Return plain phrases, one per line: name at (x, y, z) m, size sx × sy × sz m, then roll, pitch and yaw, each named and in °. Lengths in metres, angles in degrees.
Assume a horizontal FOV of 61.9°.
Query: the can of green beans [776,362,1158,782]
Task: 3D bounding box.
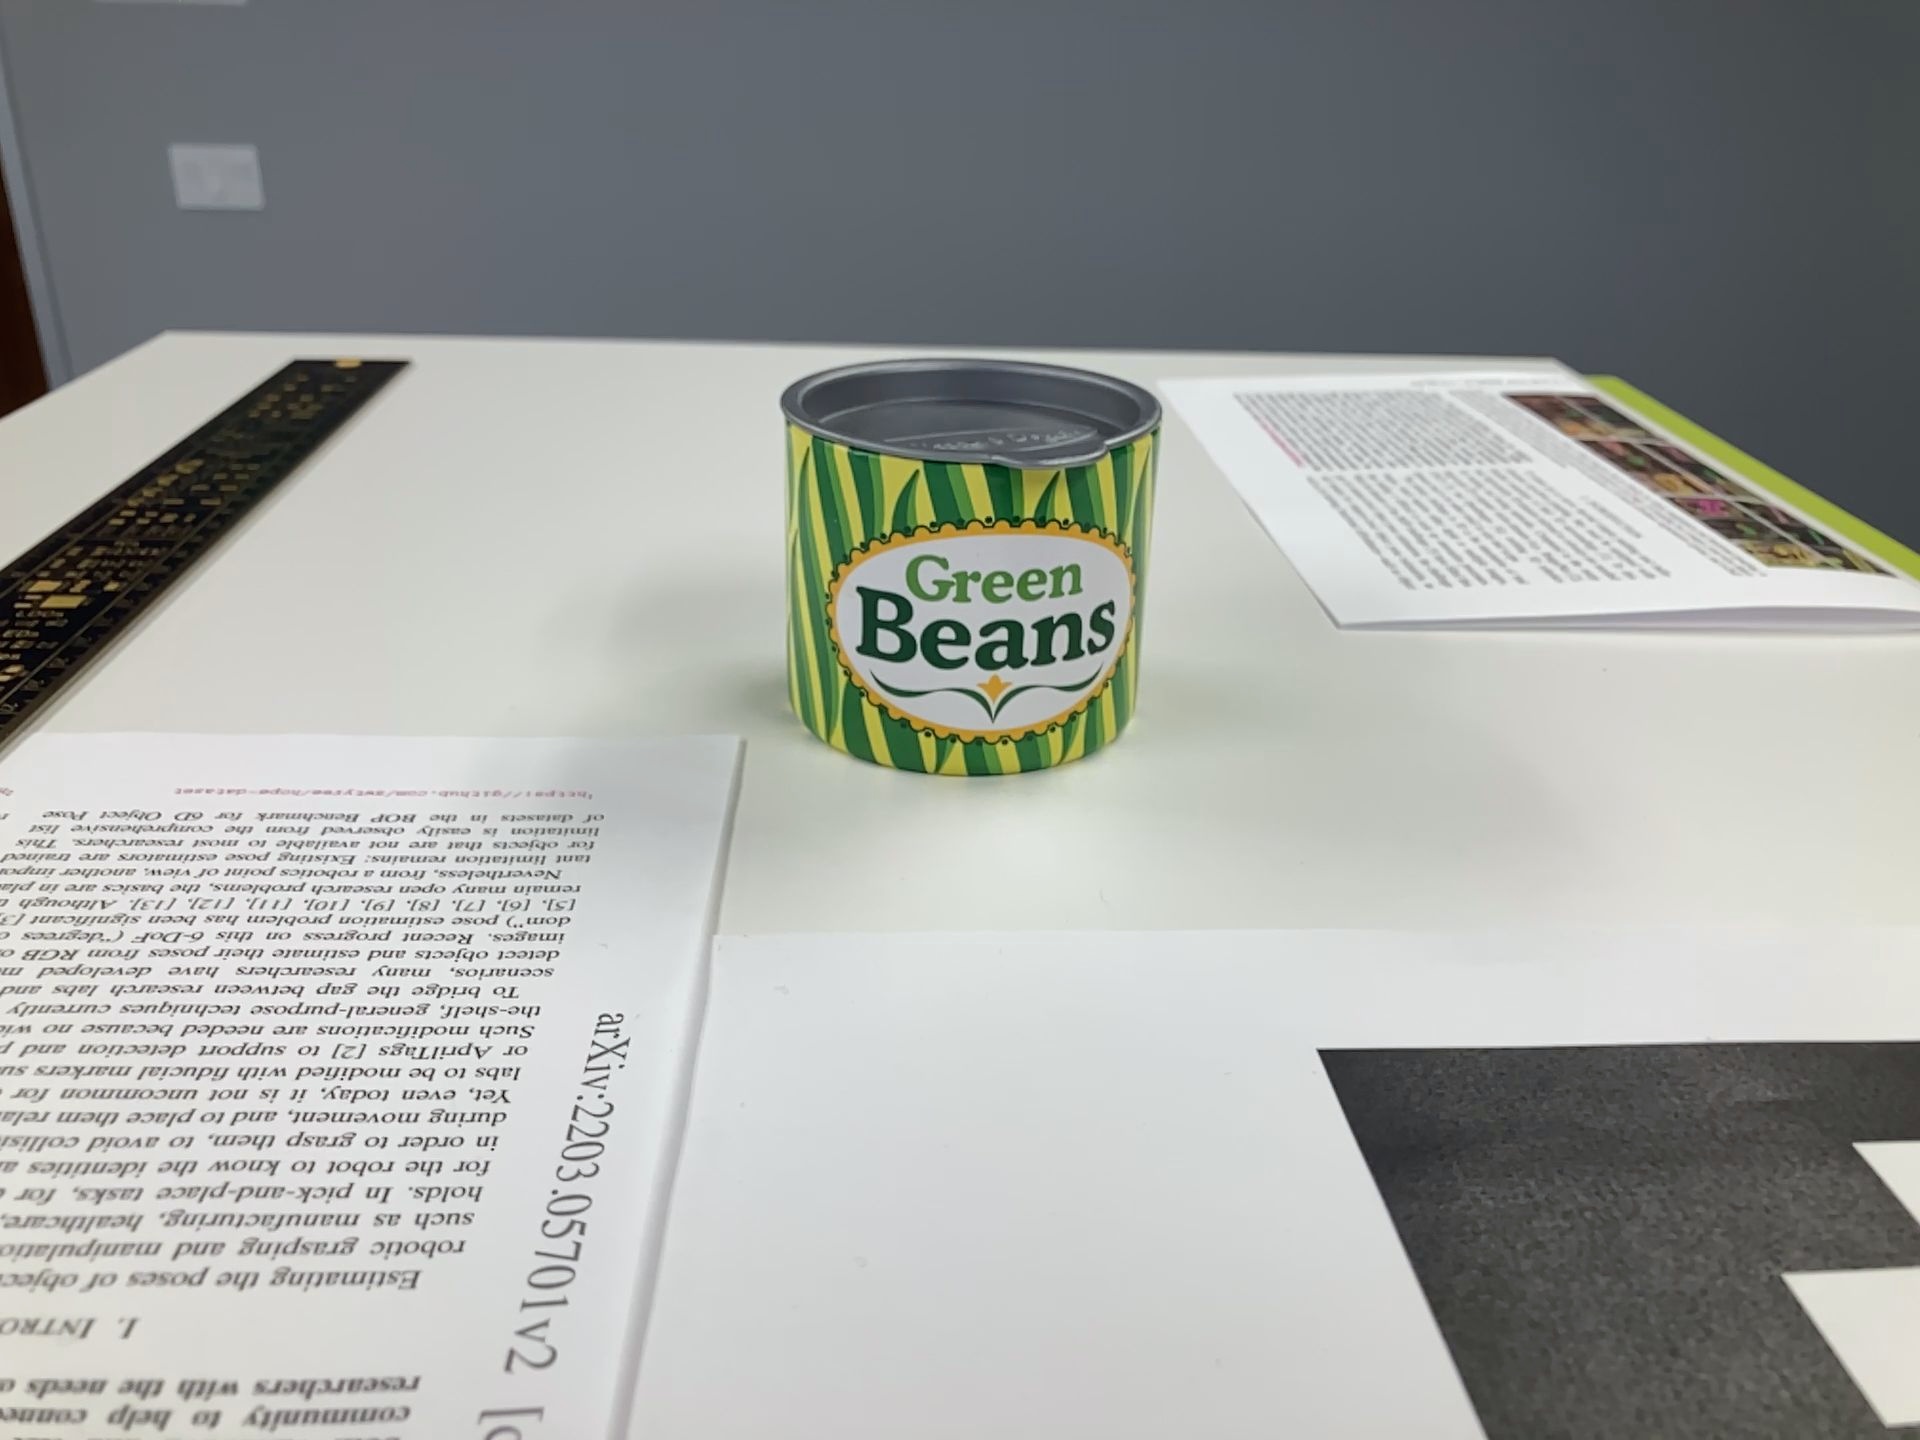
can of green beans at (0.001, -0.029, 0.289) m, size 0.071 × 0.058 × 0.071 m, roll 1°, pitch 25°, yaw 0°
